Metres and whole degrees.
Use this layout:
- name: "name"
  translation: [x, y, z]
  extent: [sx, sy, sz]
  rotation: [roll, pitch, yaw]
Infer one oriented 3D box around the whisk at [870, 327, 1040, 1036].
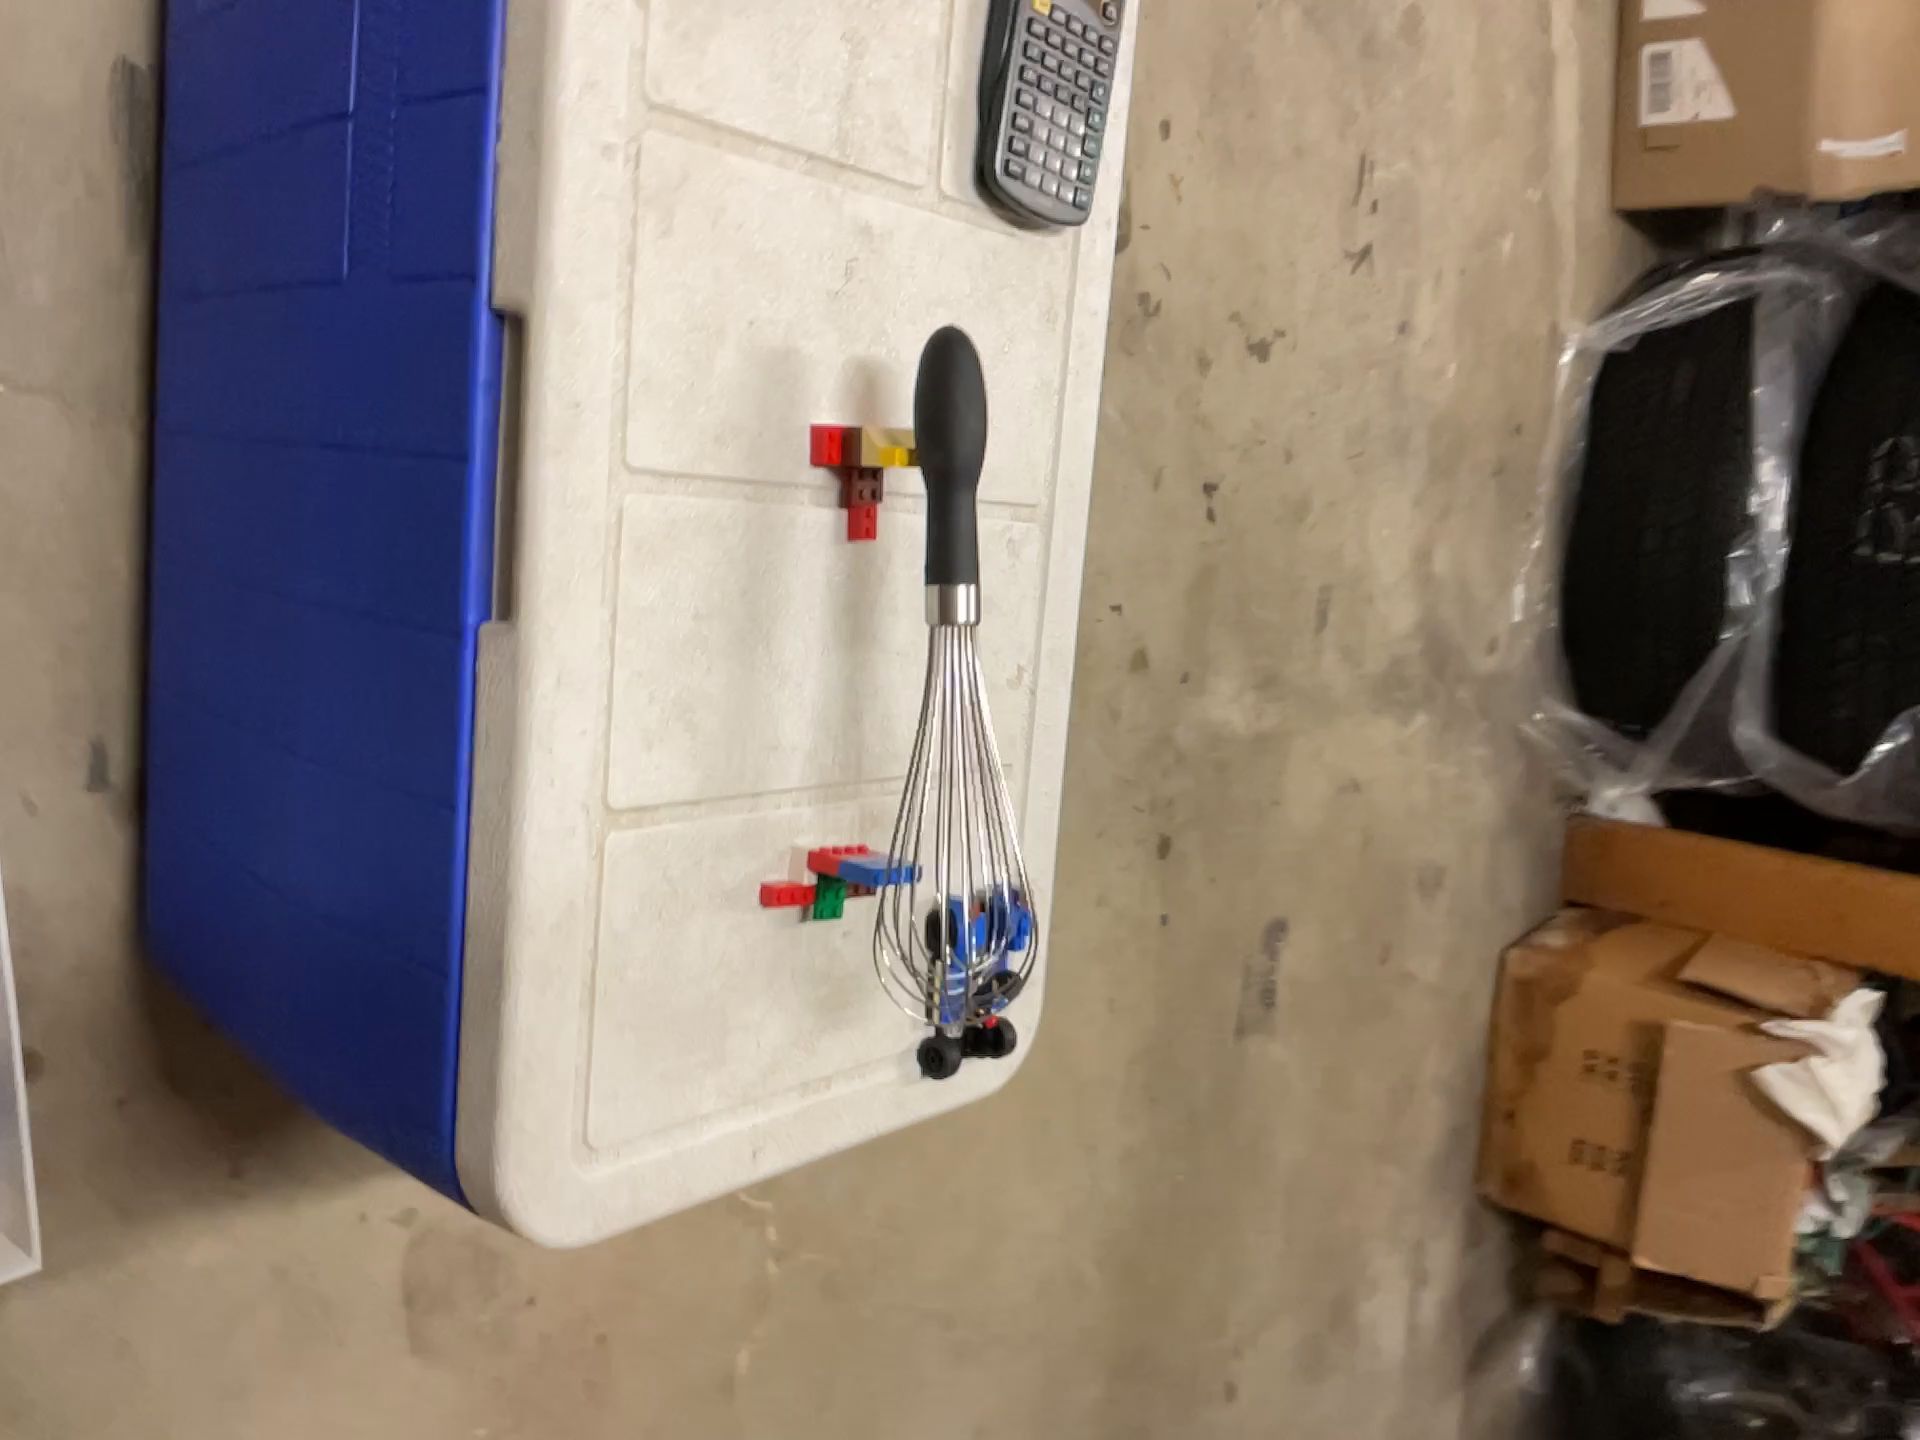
- name: "whisk"
  translation: [-0.002, -0.014, 0.644]
  extent: [0.070, 0.070, 0.284]
  rotation: [-5, 96, -45]
